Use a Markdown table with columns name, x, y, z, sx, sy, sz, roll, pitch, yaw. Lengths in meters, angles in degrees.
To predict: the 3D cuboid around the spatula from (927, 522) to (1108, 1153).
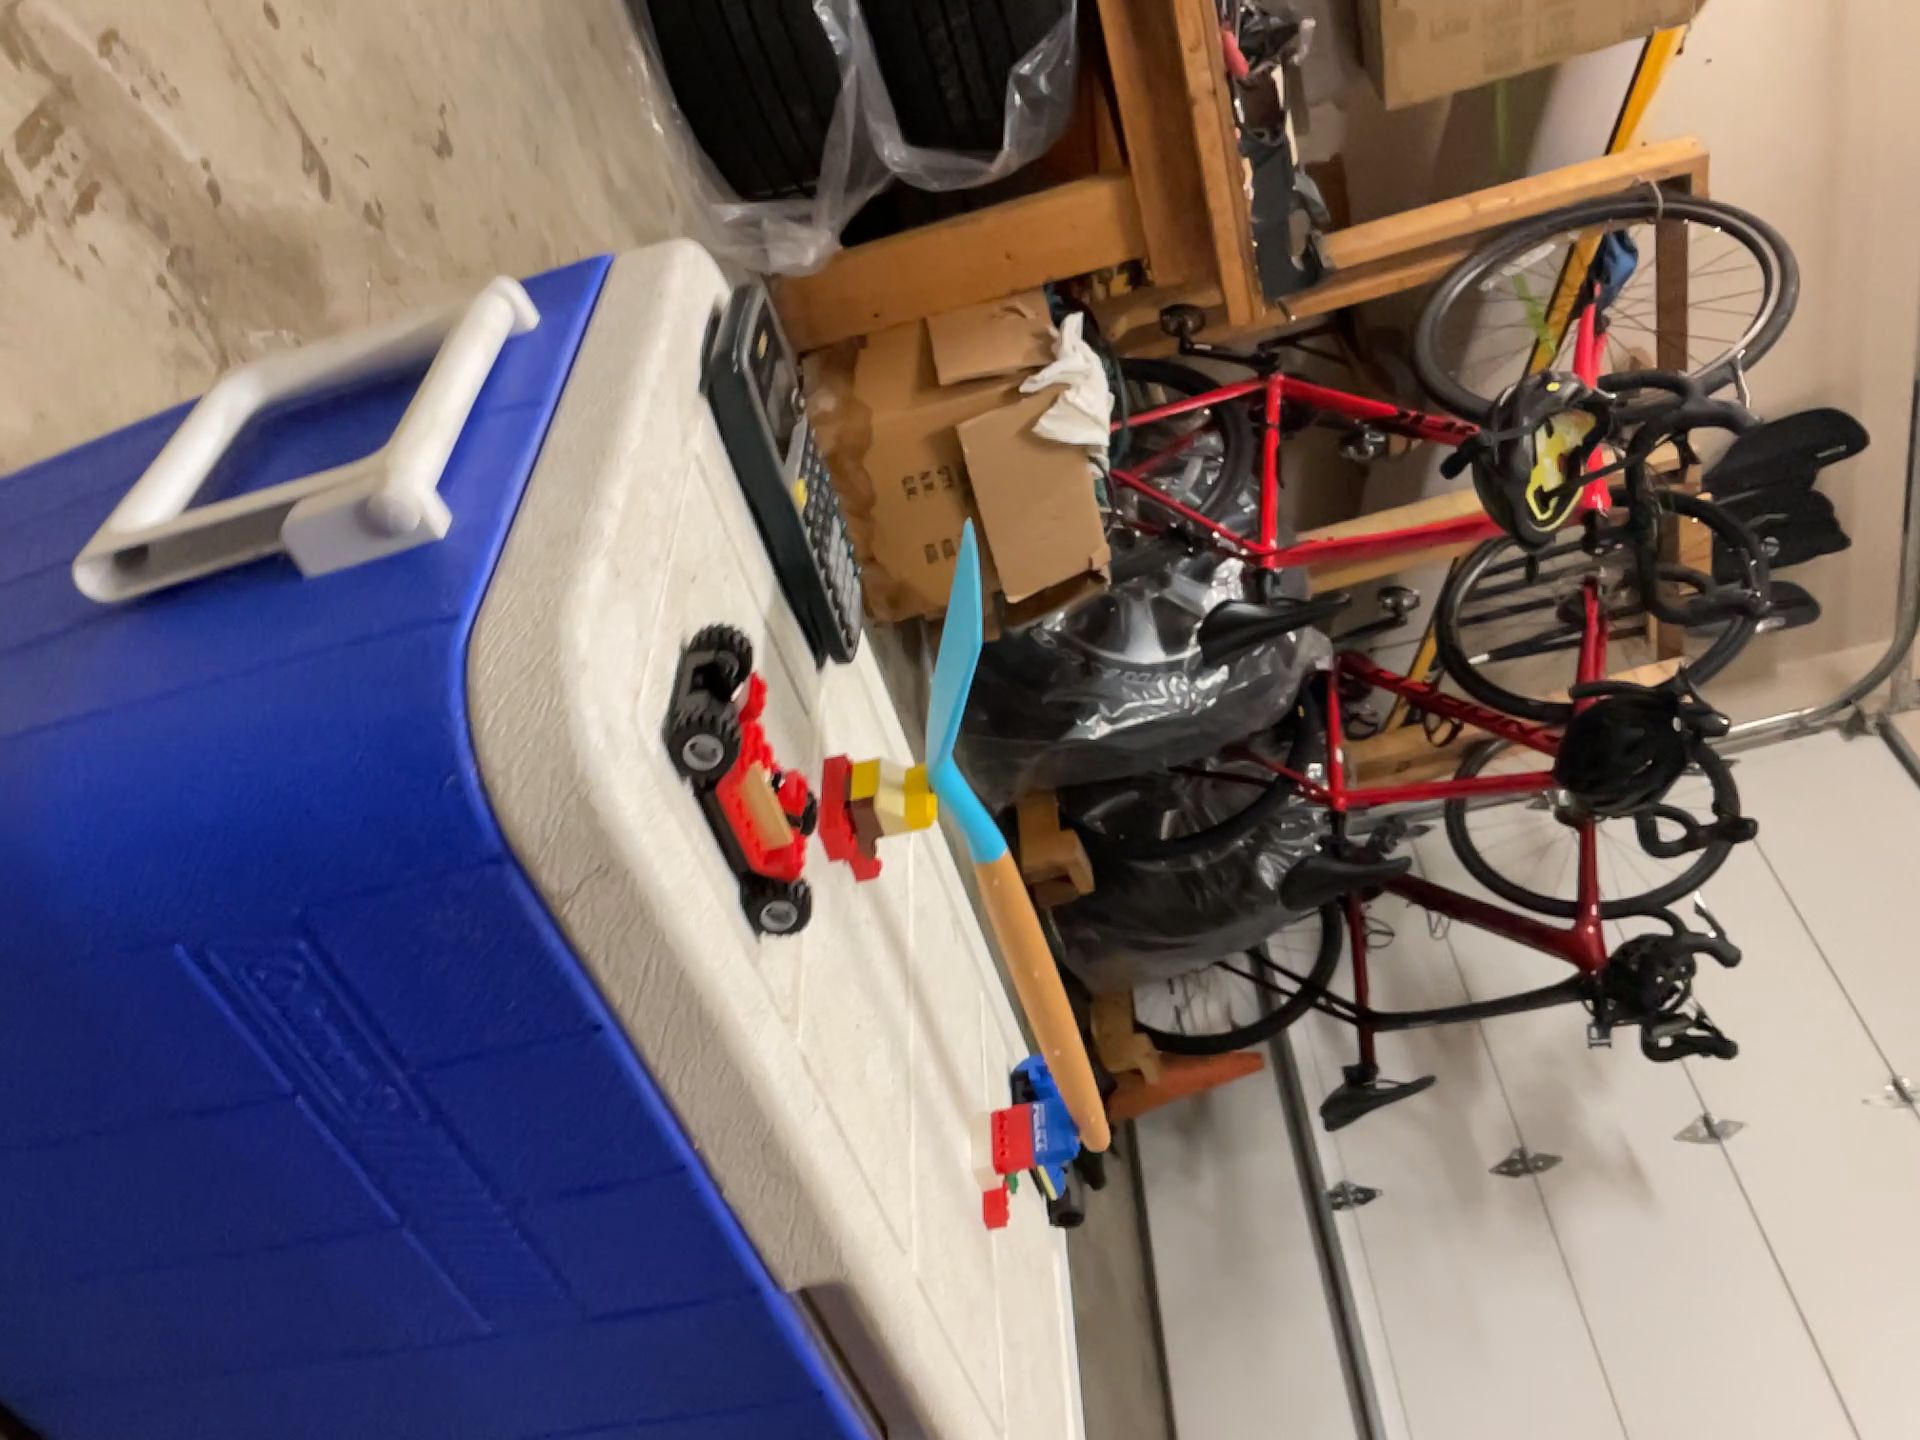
| name | x | y | z | sx | sy | sz | roll | pitch | yaw |
| --- | --- | --- | --- | --- | --- | --- | --- | --- | --- |
| spatula | 0.029 | 0.073 | 0.661 | 0.083 | 0.044 | 0.317 | -96 | 169 | -56 |
